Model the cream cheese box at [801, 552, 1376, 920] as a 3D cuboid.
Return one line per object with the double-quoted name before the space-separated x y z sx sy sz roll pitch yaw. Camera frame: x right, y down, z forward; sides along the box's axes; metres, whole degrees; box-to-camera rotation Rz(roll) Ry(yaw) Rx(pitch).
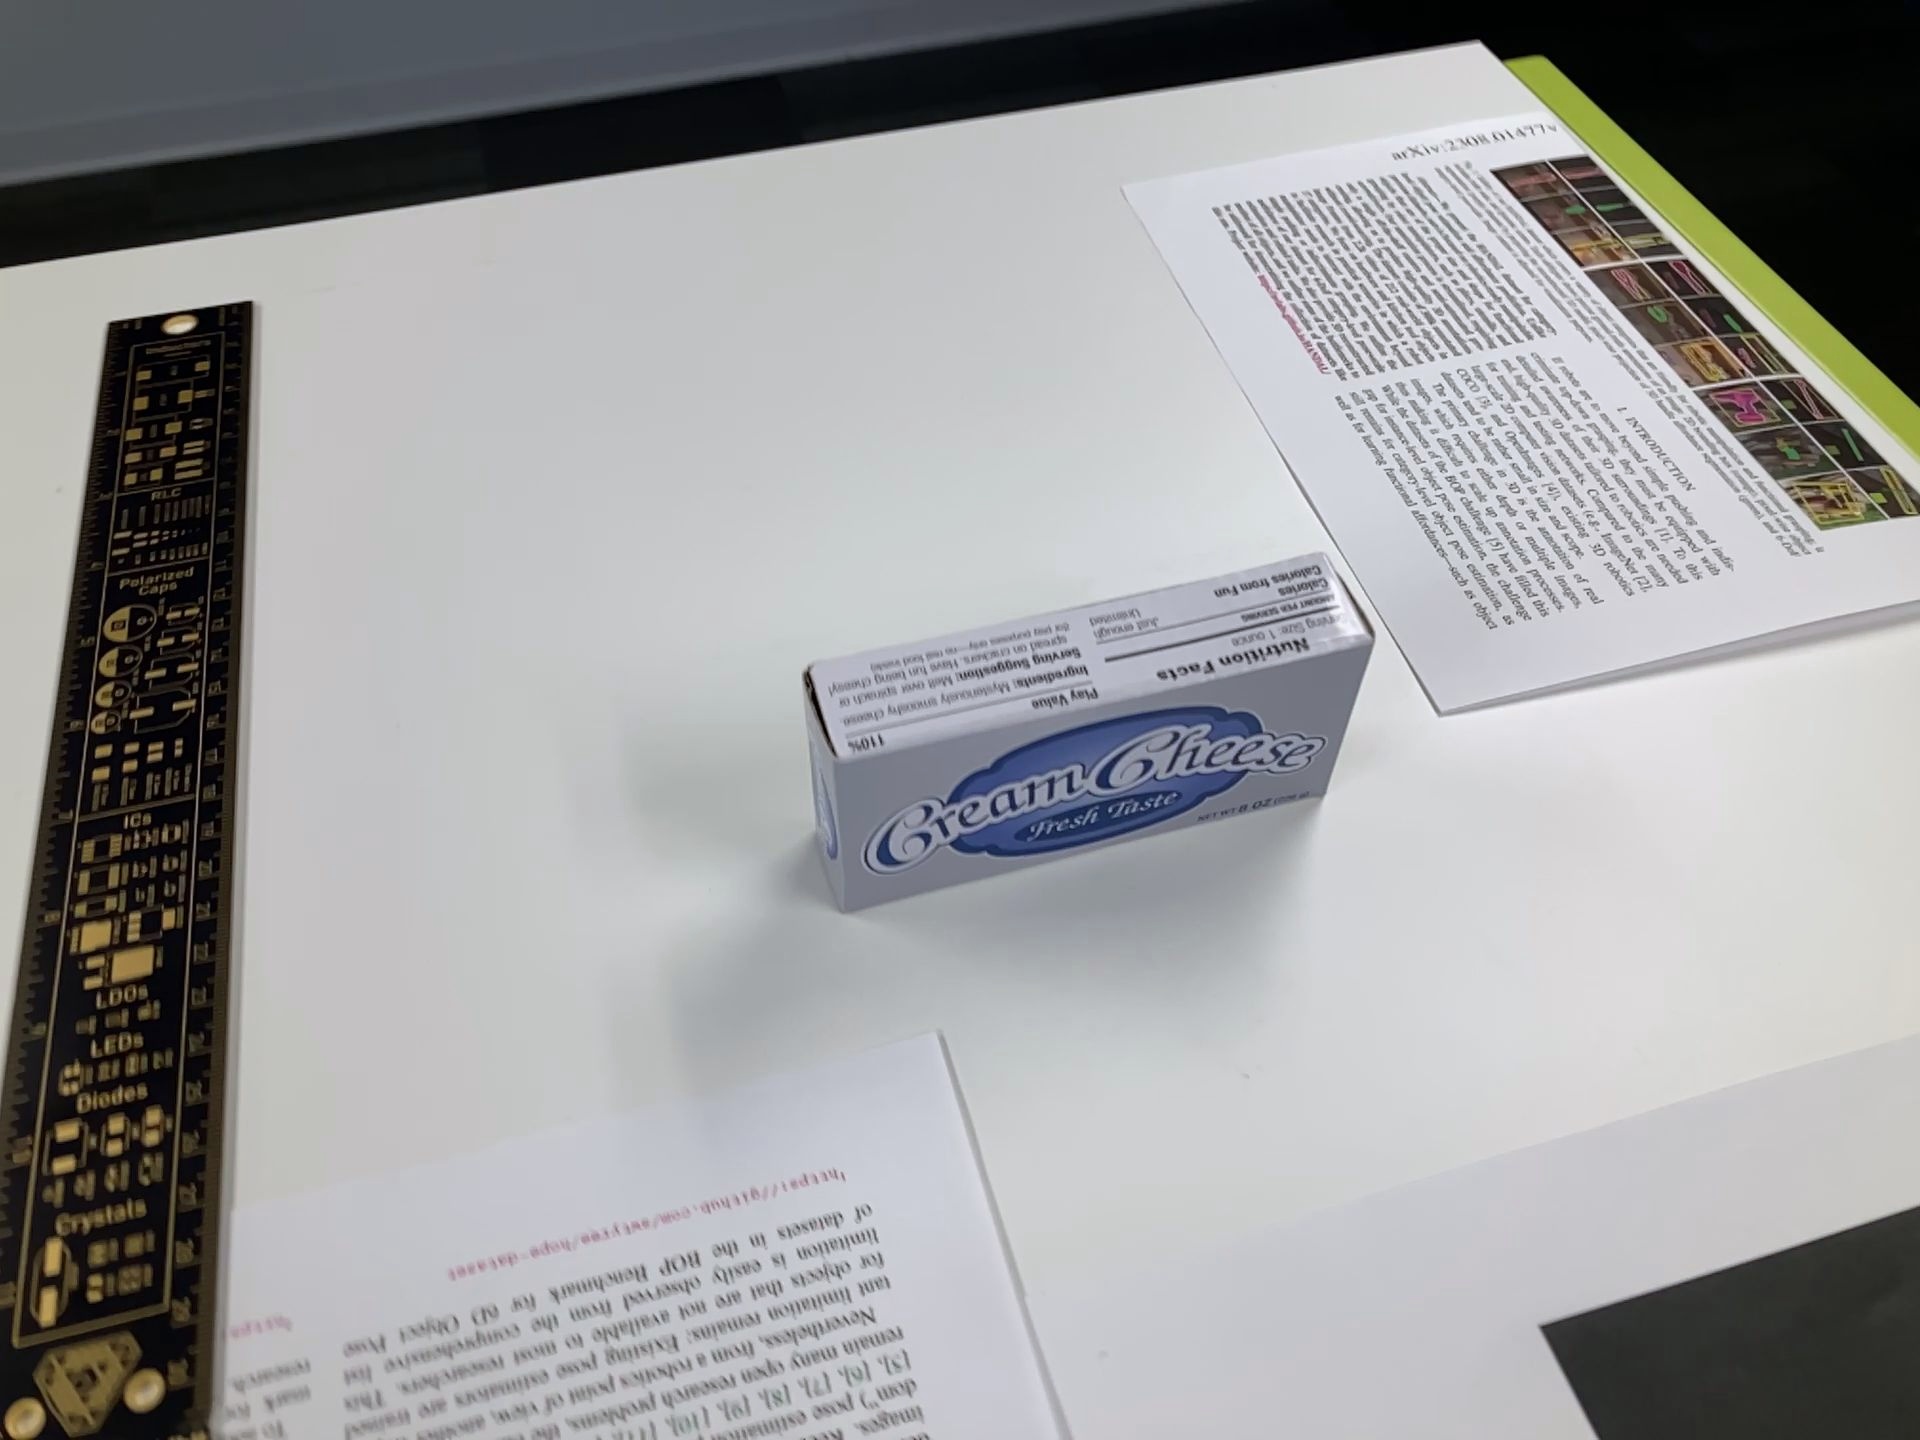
"cream cheese box" 0.023 0.003 0.304 0.104 0.053 0.024 -13 52 -10
